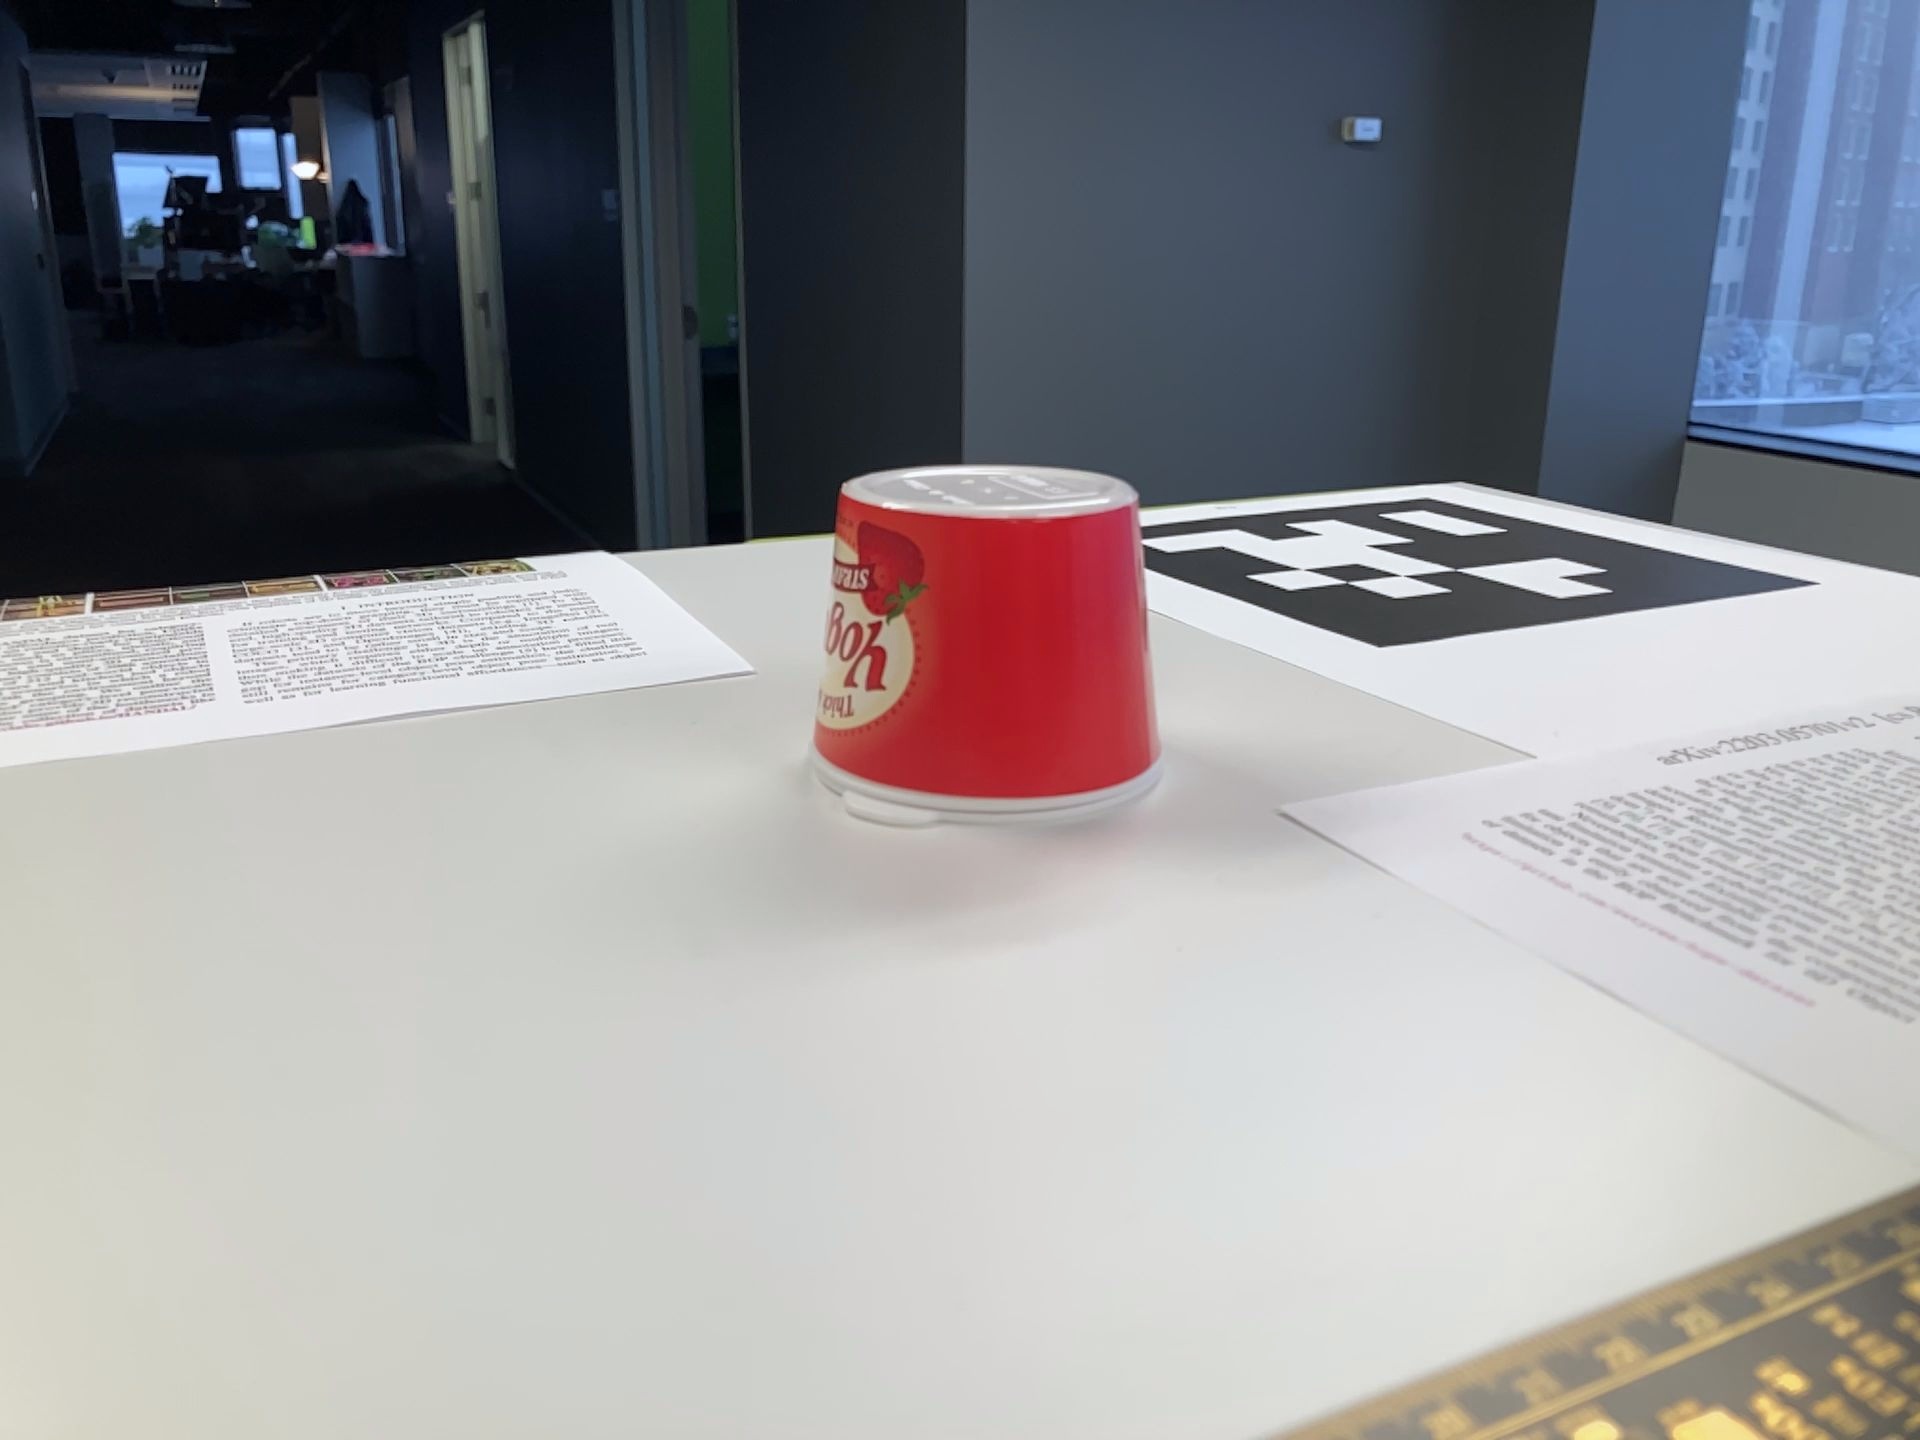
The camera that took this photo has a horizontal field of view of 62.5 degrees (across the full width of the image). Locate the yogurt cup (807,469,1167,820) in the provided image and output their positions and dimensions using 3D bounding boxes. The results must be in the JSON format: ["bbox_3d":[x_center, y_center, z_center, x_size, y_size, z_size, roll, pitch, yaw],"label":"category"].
[{"bbox_3d":[0.005,-0.017,0.295,0.072,0.054,0.072,0,16,0],"label":"yogurt cup"}]
